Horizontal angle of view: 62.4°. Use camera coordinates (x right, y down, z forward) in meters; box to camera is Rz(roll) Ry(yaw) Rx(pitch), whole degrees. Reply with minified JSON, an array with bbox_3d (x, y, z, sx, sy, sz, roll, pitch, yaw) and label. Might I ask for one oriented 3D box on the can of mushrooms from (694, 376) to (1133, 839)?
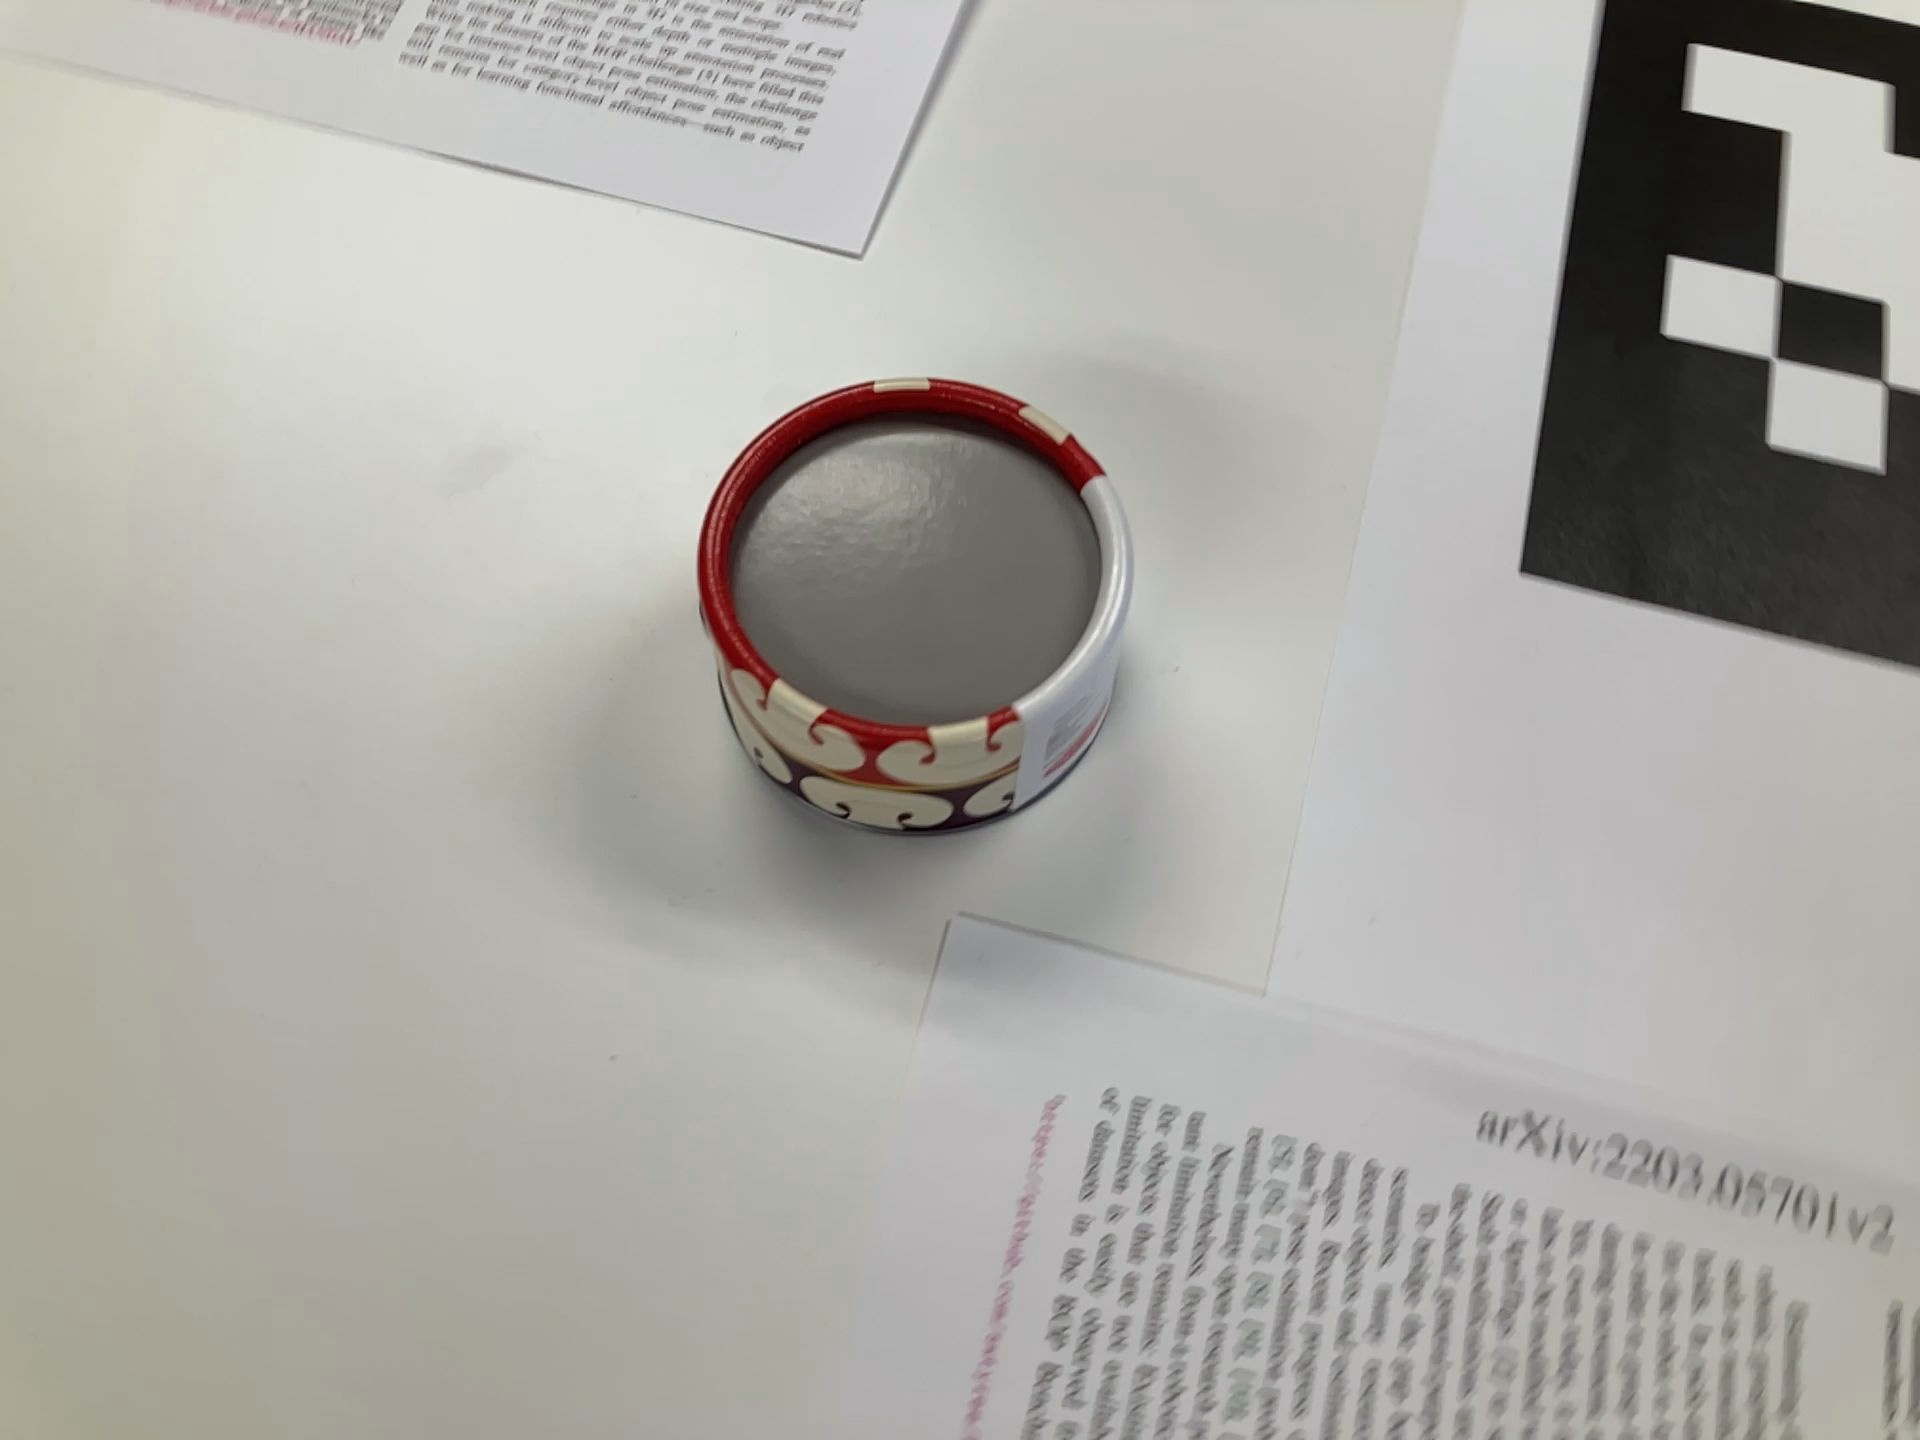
[{"bbox_3d":[-0.009,-0.019,0.247,0.071,0.033,0.071,0,64,0],"label":"can of mushrooms"}]
